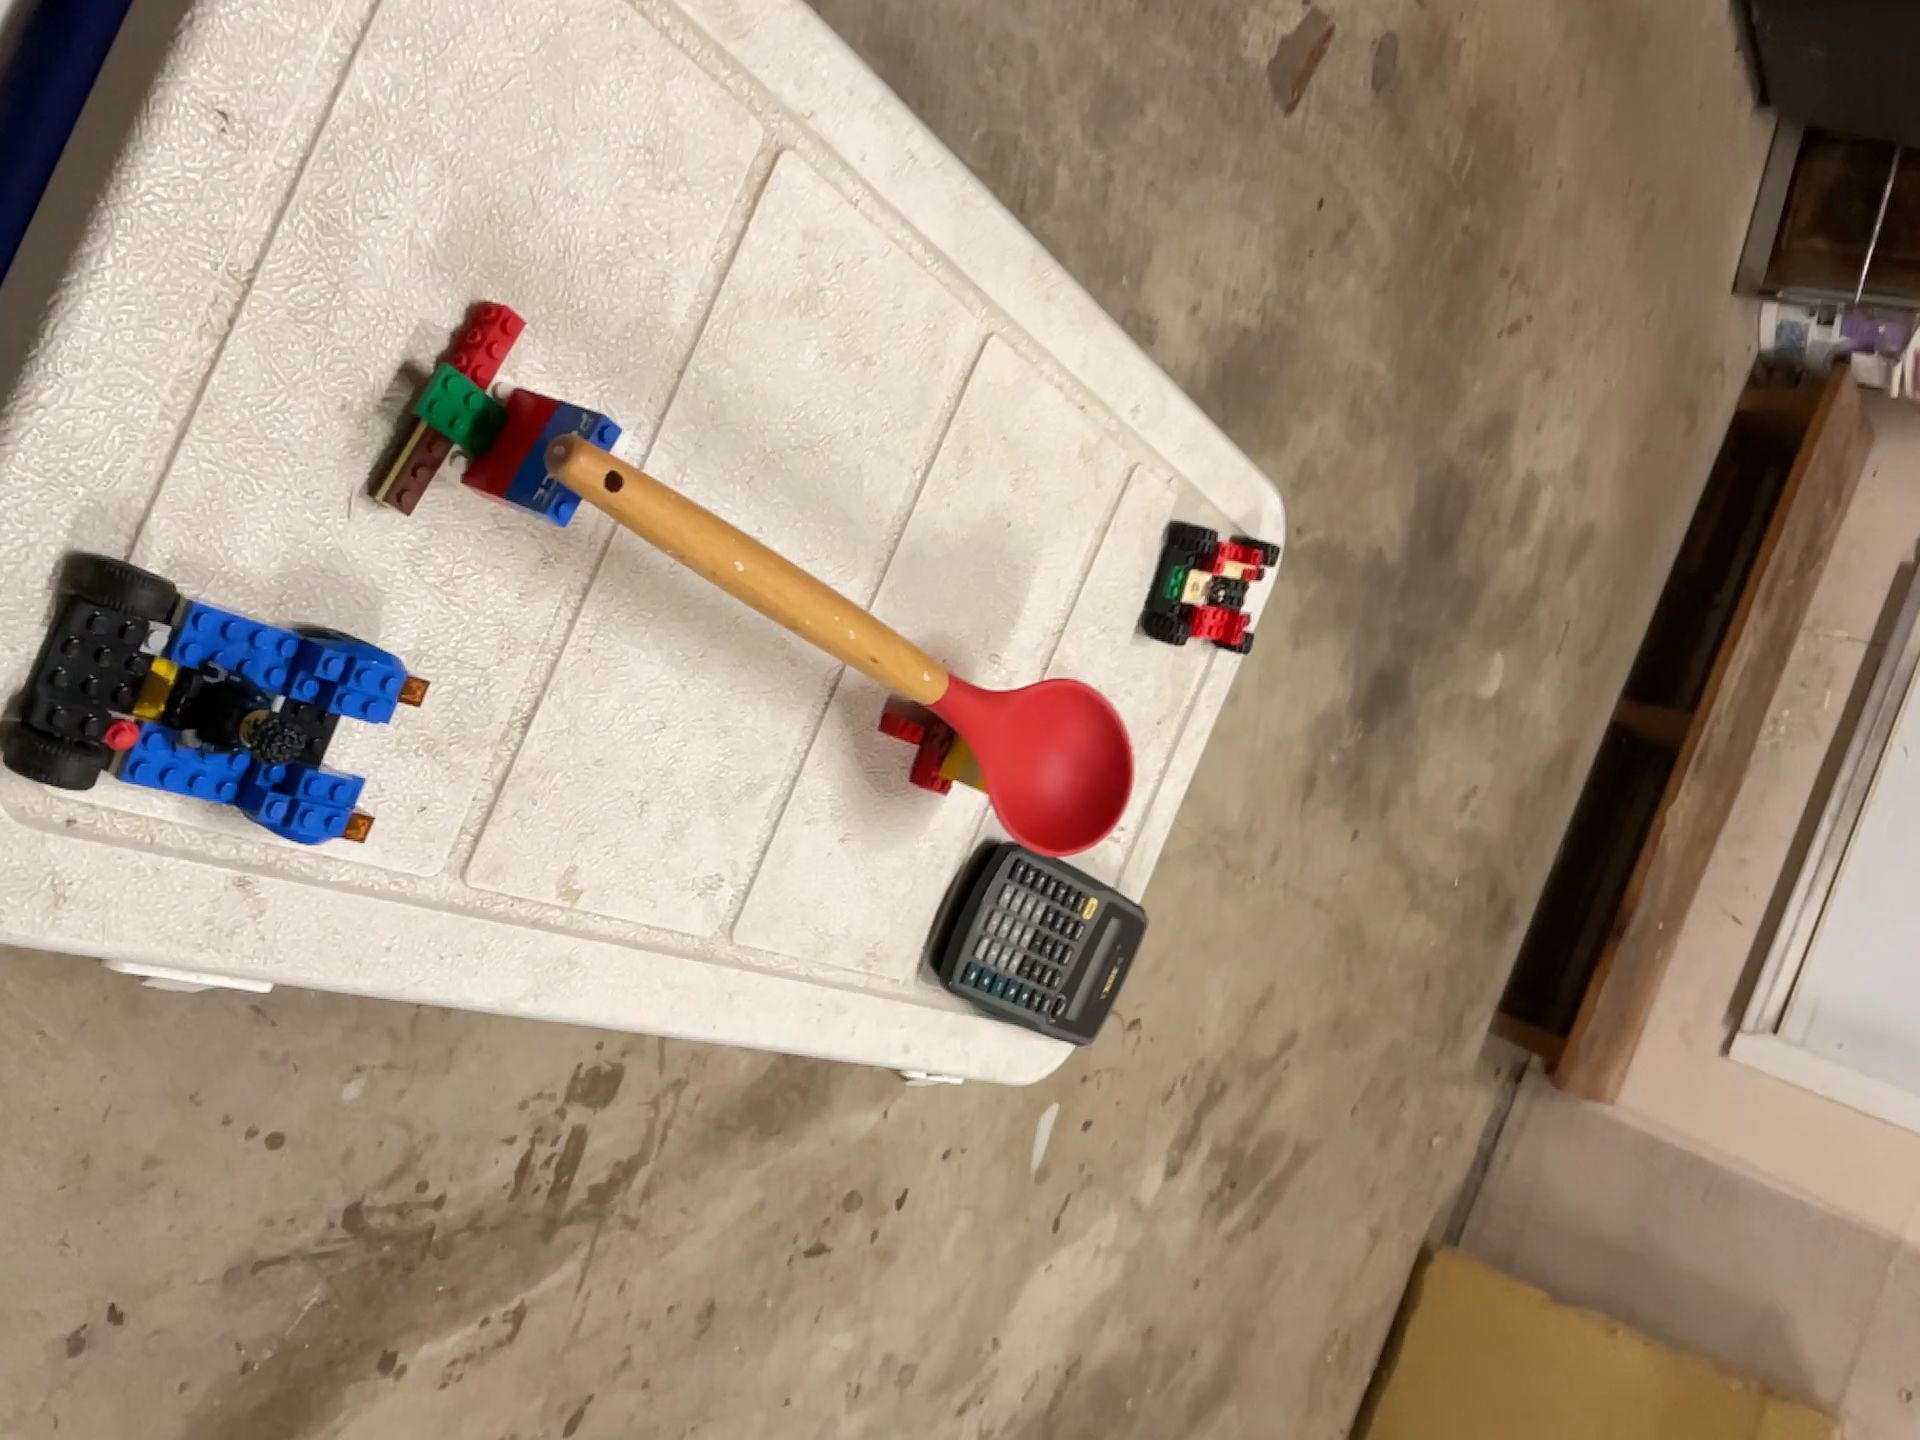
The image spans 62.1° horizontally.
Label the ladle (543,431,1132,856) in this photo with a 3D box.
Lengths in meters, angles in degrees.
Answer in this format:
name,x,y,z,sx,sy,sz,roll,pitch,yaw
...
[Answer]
name,x,y,z,sx,sy,sz,roll,pitch,yaw
ladle,-0.024,-0.020,0.535,0.315,0.031,0.069,32,76,-53
